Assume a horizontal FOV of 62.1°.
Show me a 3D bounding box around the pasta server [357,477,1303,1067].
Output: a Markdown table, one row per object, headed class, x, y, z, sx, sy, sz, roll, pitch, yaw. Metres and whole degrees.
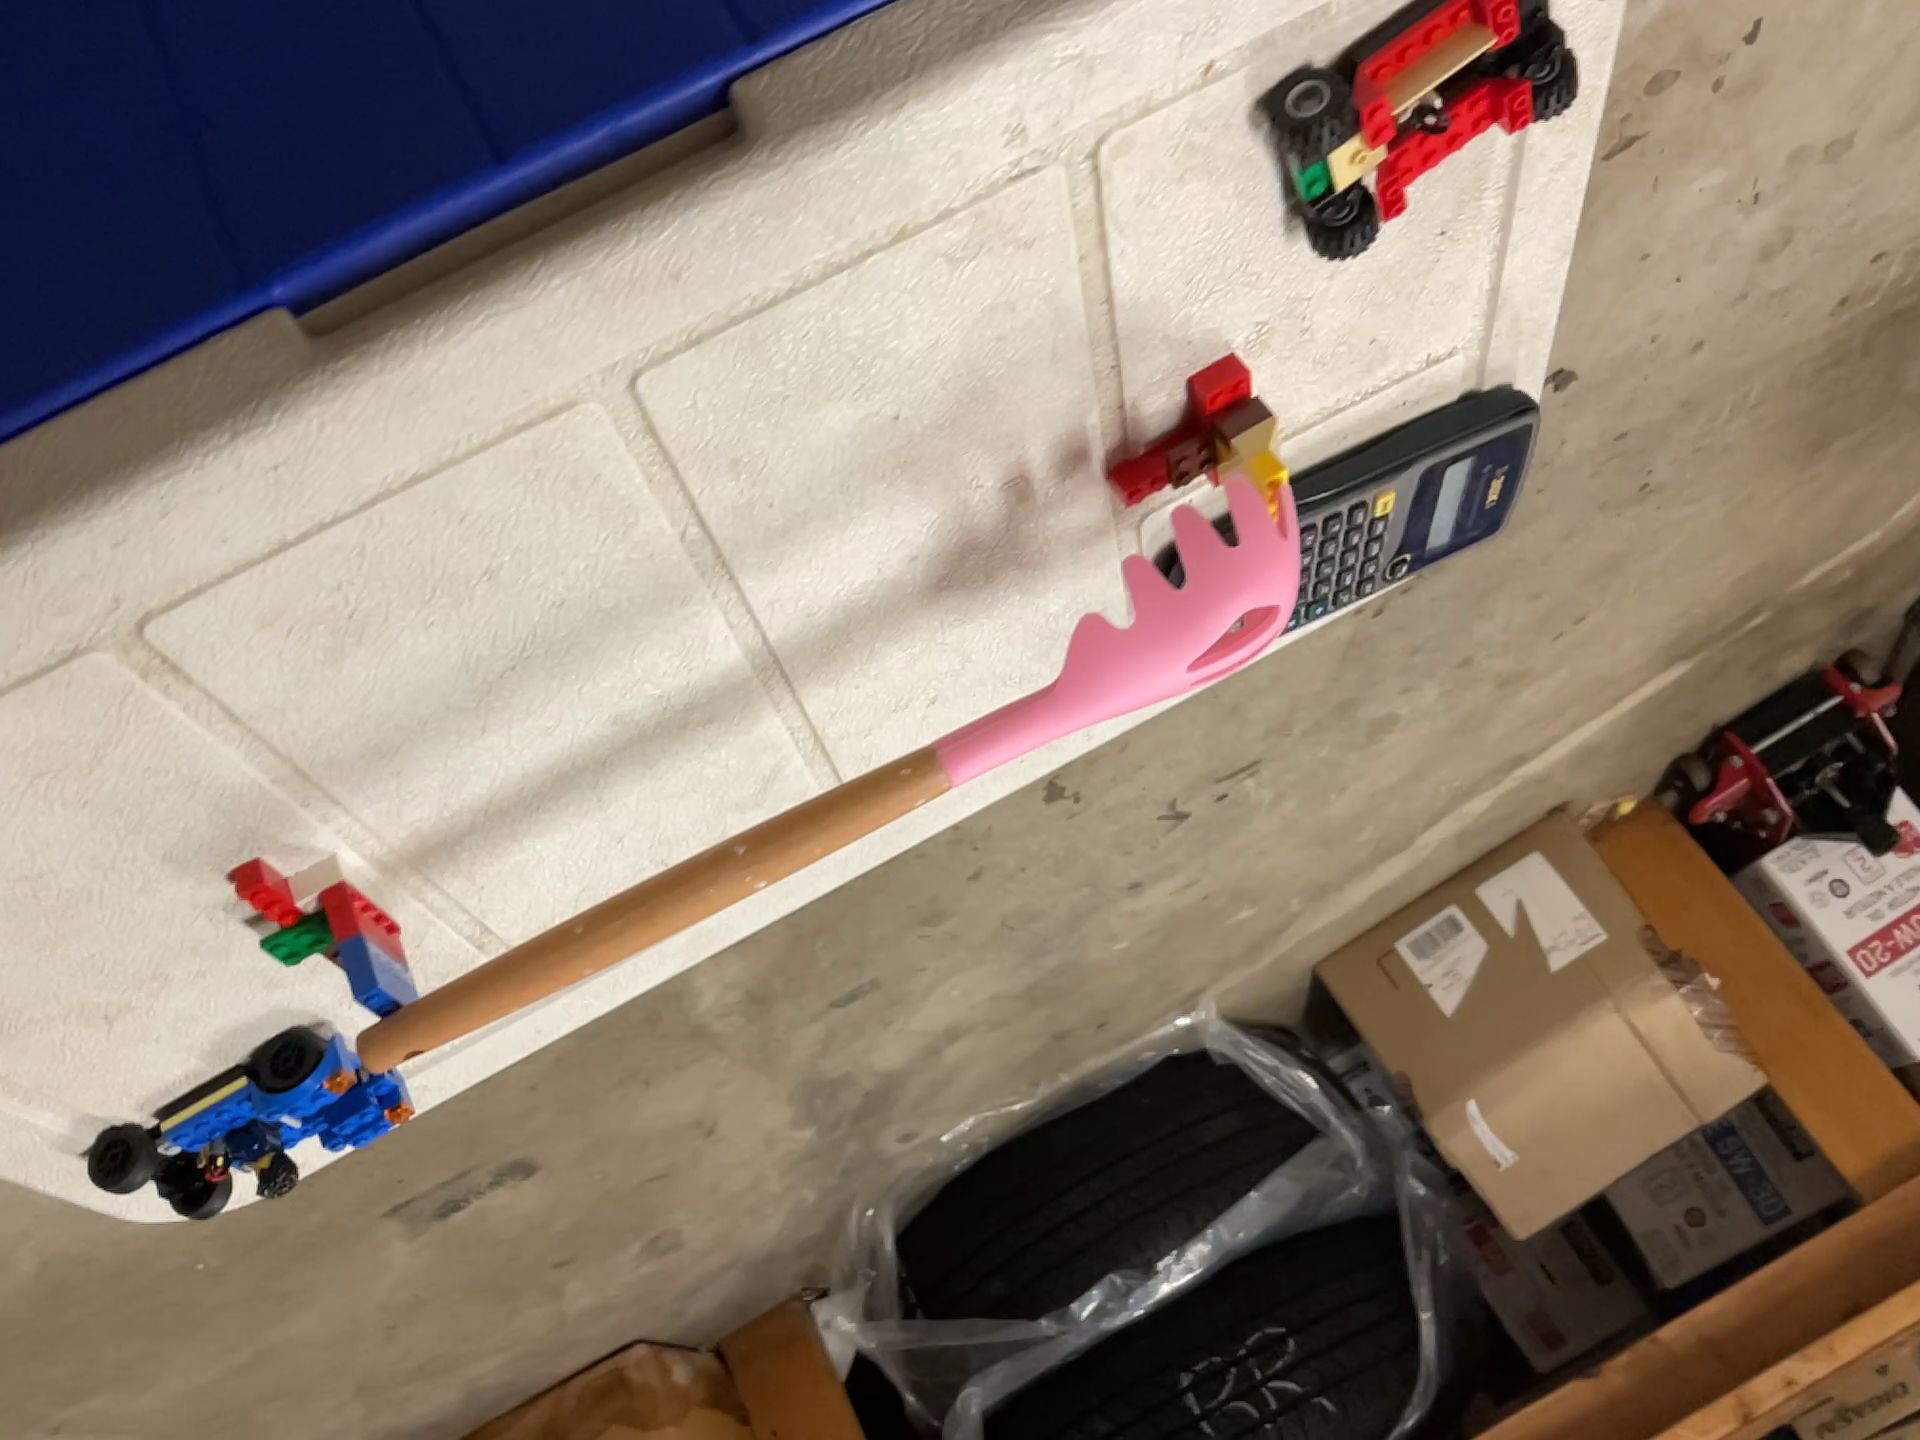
| class | x | y | z | sx | sy | sz | roll | pitch | yaw |
| --- | --- | --- | --- | --- | --- | --- | --- | --- | --- |
| pasta server | -0.033 | 0.019 | 0.472 | 0.316 | 0.040 | 0.060 | -26 | 151 | -3 |
